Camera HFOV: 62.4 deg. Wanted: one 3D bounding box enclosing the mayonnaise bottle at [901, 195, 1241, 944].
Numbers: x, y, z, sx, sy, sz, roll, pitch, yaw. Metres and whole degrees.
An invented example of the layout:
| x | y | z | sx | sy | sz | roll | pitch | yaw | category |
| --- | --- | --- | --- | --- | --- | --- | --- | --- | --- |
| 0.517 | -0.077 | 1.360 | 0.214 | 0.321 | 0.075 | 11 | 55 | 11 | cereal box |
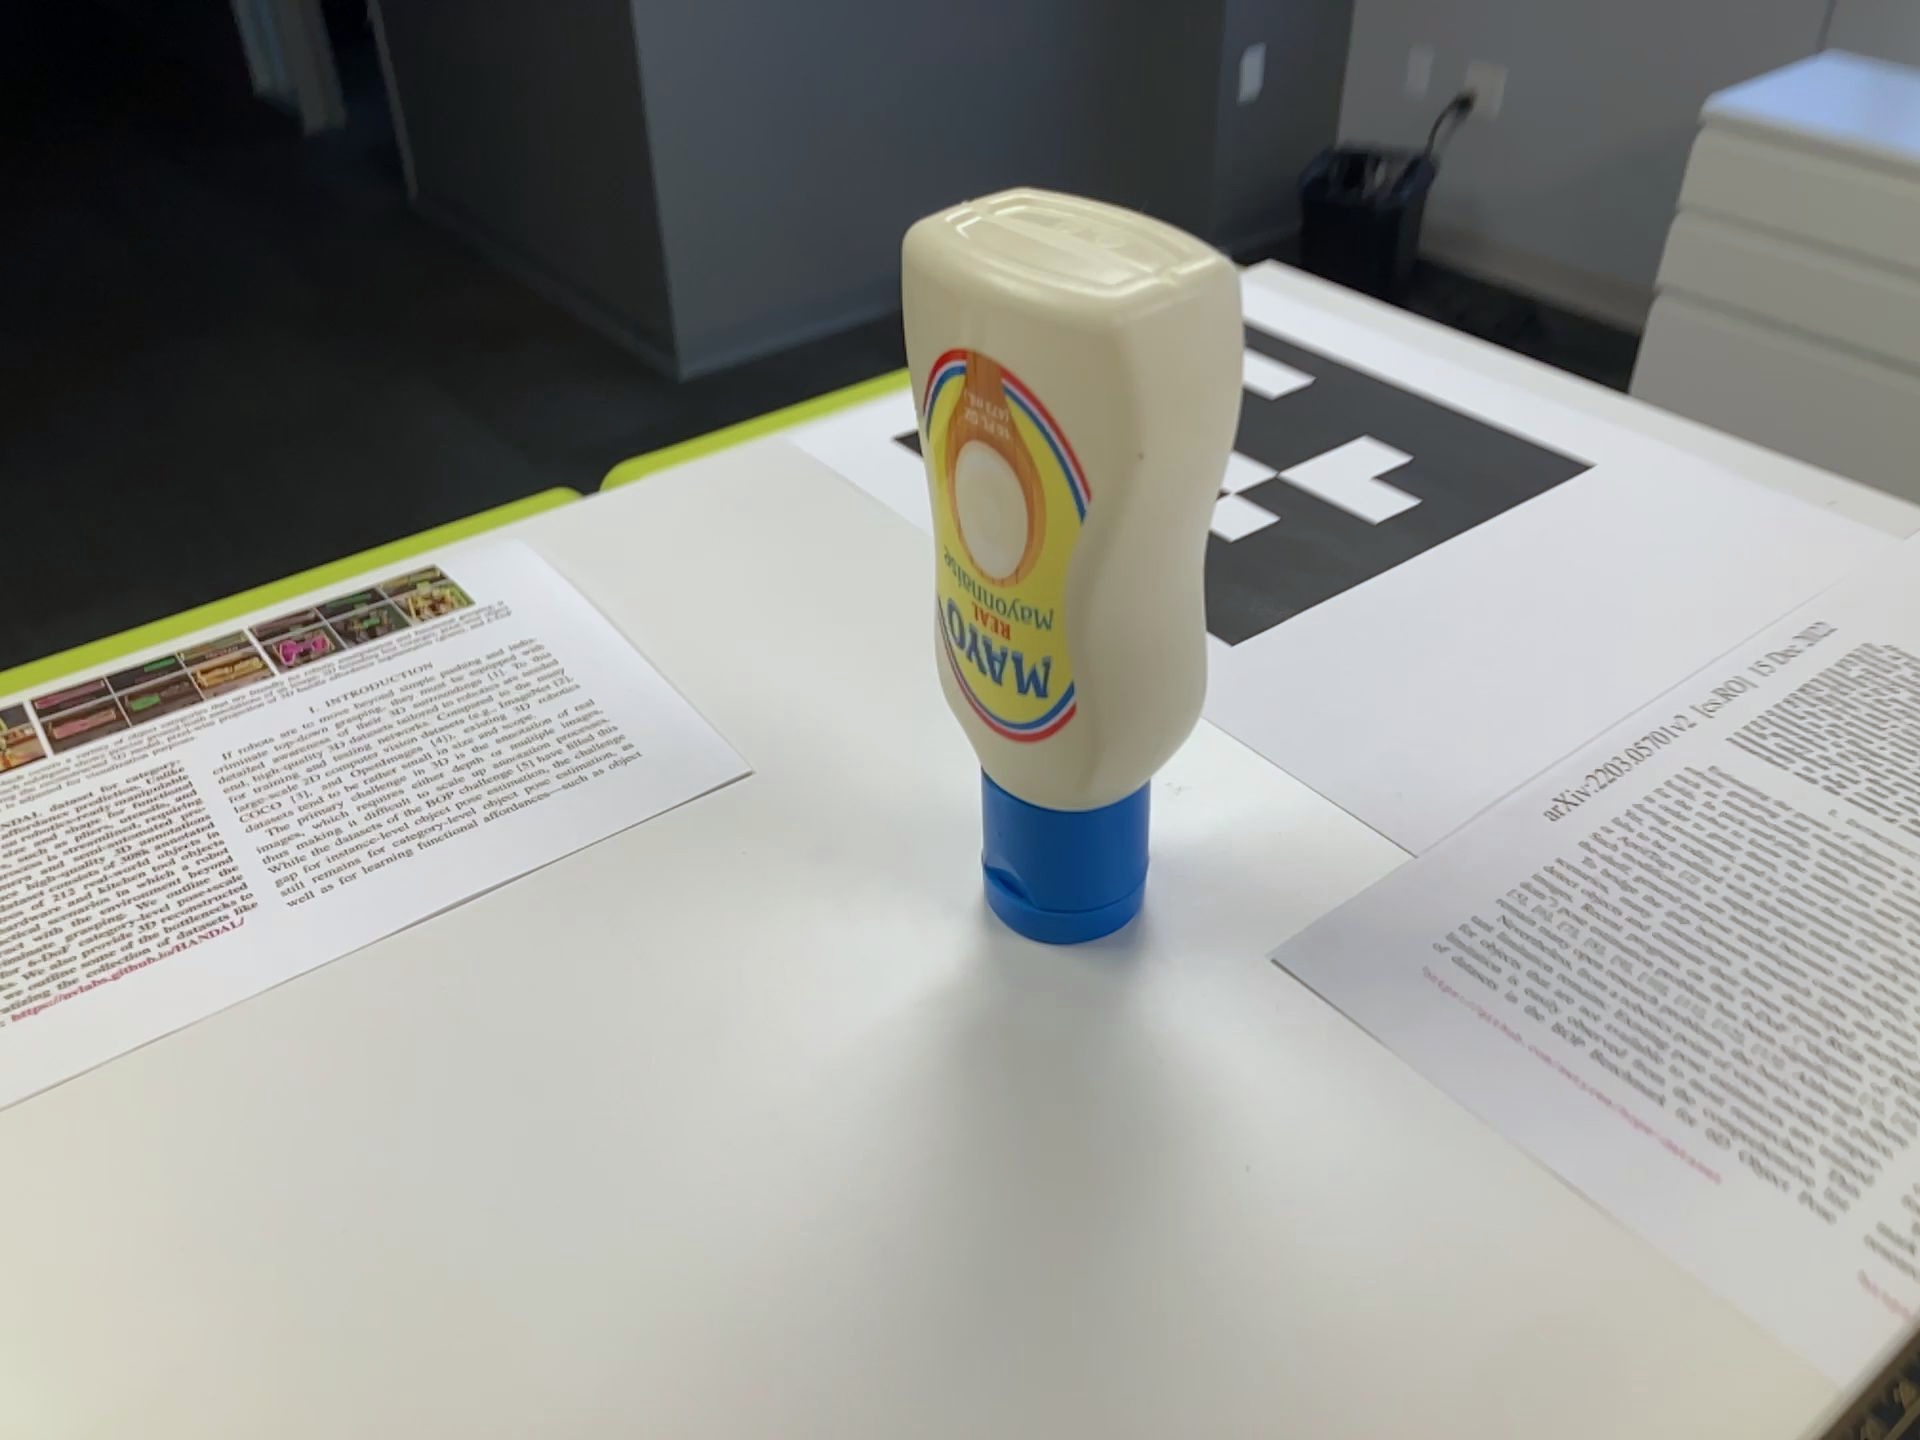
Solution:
| x | y | z | sx | sy | sz | roll | pitch | yaw | category |
| --- | --- | --- | --- | --- | --- | --- | --- | --- | --- |
| 0.020 | -0.021 | 0.310 | 0.041 | 0.148 | 0.065 | -27 | 43 | -29 | mayonnaise bottle |
